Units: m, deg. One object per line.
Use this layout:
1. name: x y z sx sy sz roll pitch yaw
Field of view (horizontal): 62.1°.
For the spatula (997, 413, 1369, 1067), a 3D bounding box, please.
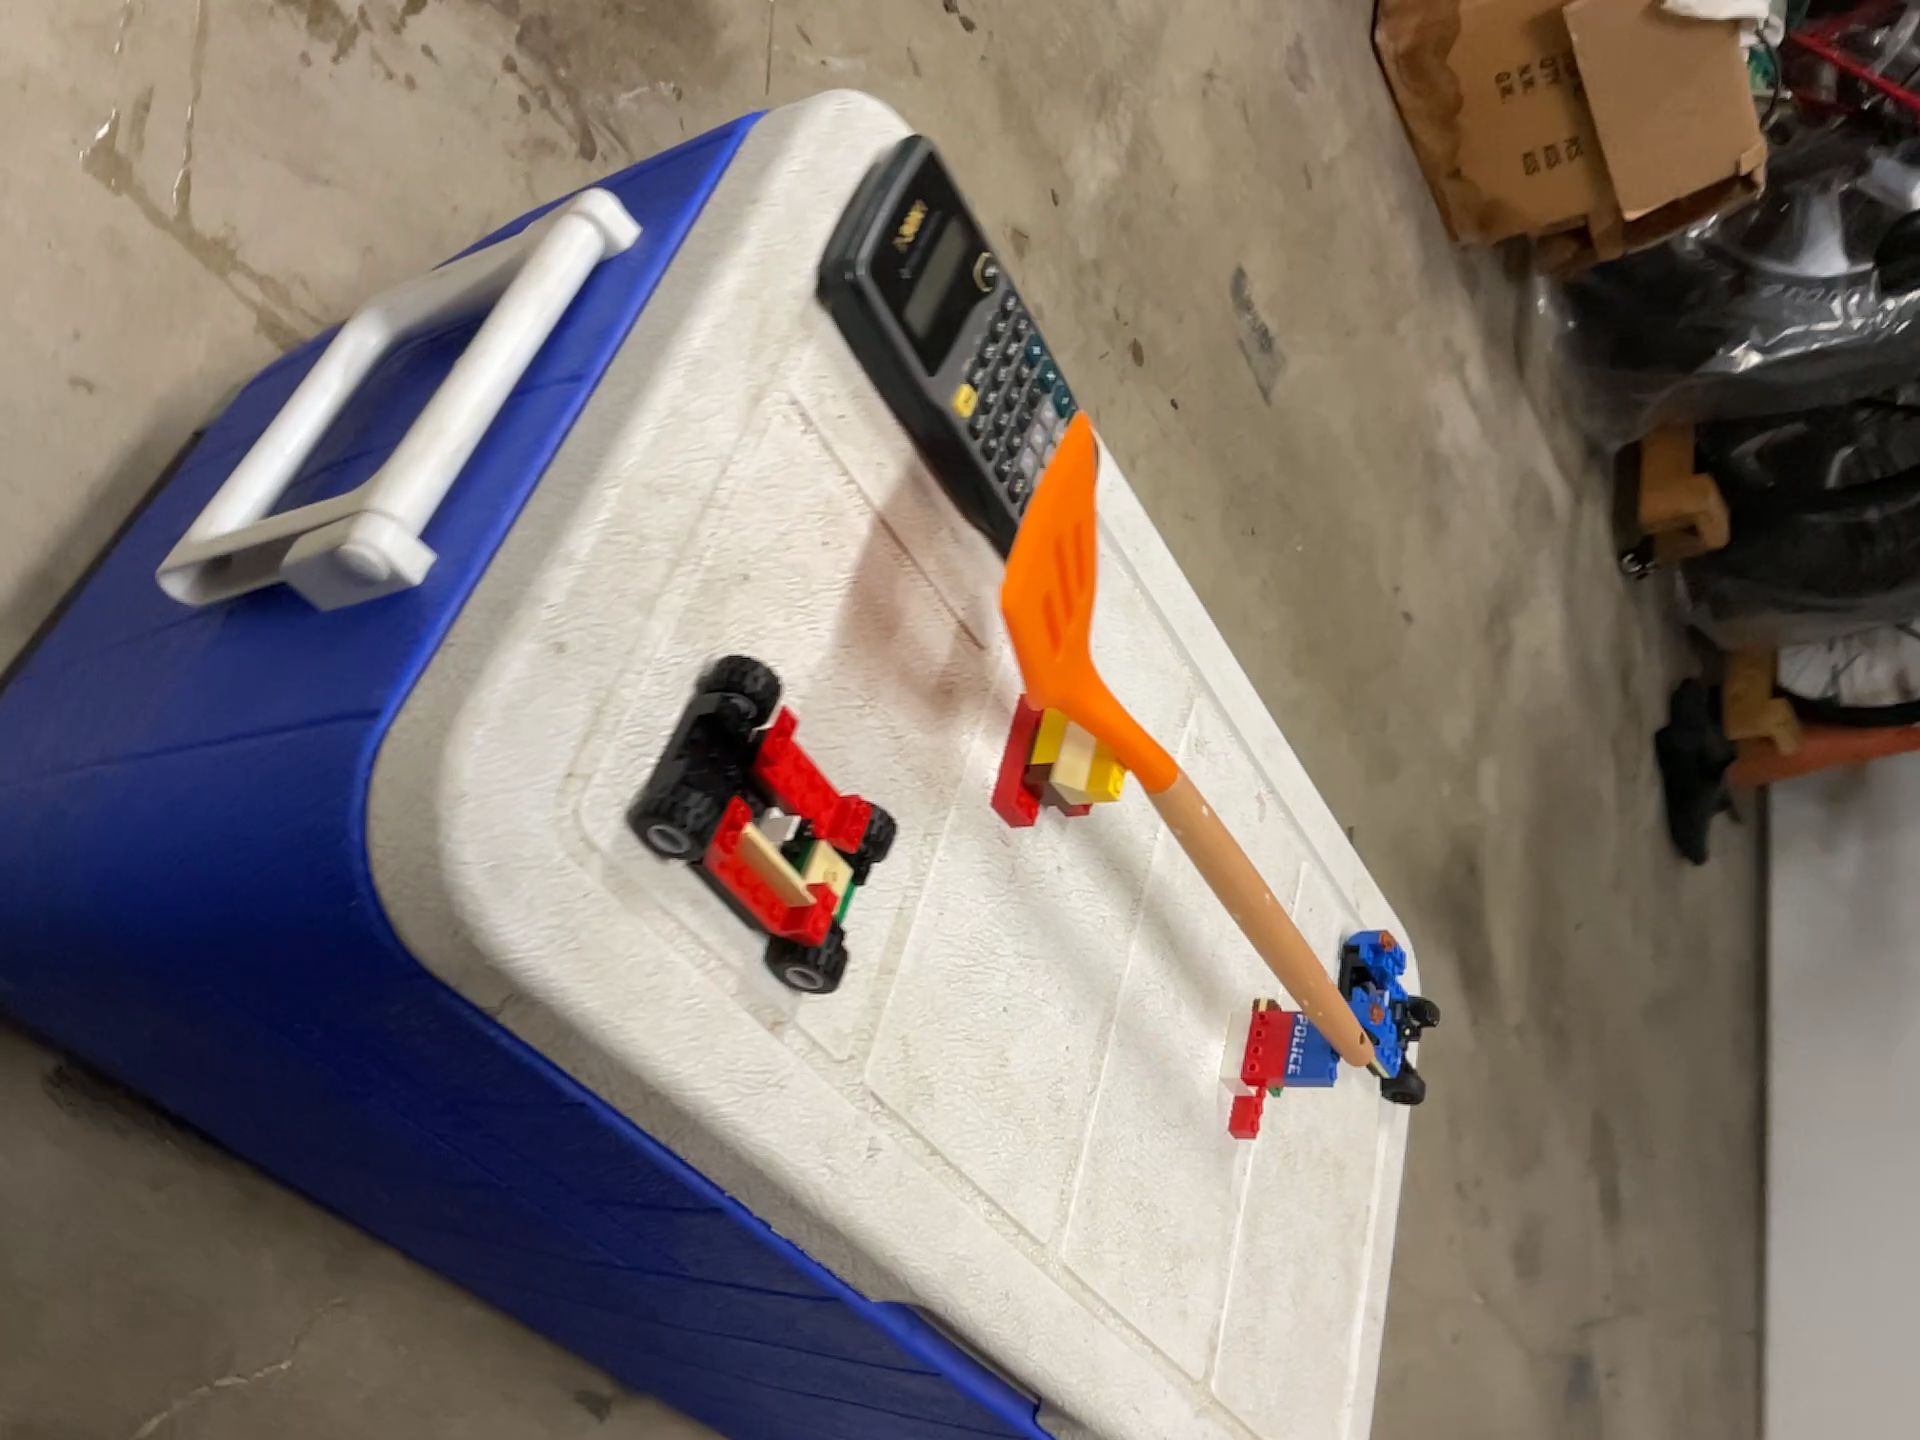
1. spatula: 0.089 0.036 0.567 0.322 0.041 0.081 51 48 -35
